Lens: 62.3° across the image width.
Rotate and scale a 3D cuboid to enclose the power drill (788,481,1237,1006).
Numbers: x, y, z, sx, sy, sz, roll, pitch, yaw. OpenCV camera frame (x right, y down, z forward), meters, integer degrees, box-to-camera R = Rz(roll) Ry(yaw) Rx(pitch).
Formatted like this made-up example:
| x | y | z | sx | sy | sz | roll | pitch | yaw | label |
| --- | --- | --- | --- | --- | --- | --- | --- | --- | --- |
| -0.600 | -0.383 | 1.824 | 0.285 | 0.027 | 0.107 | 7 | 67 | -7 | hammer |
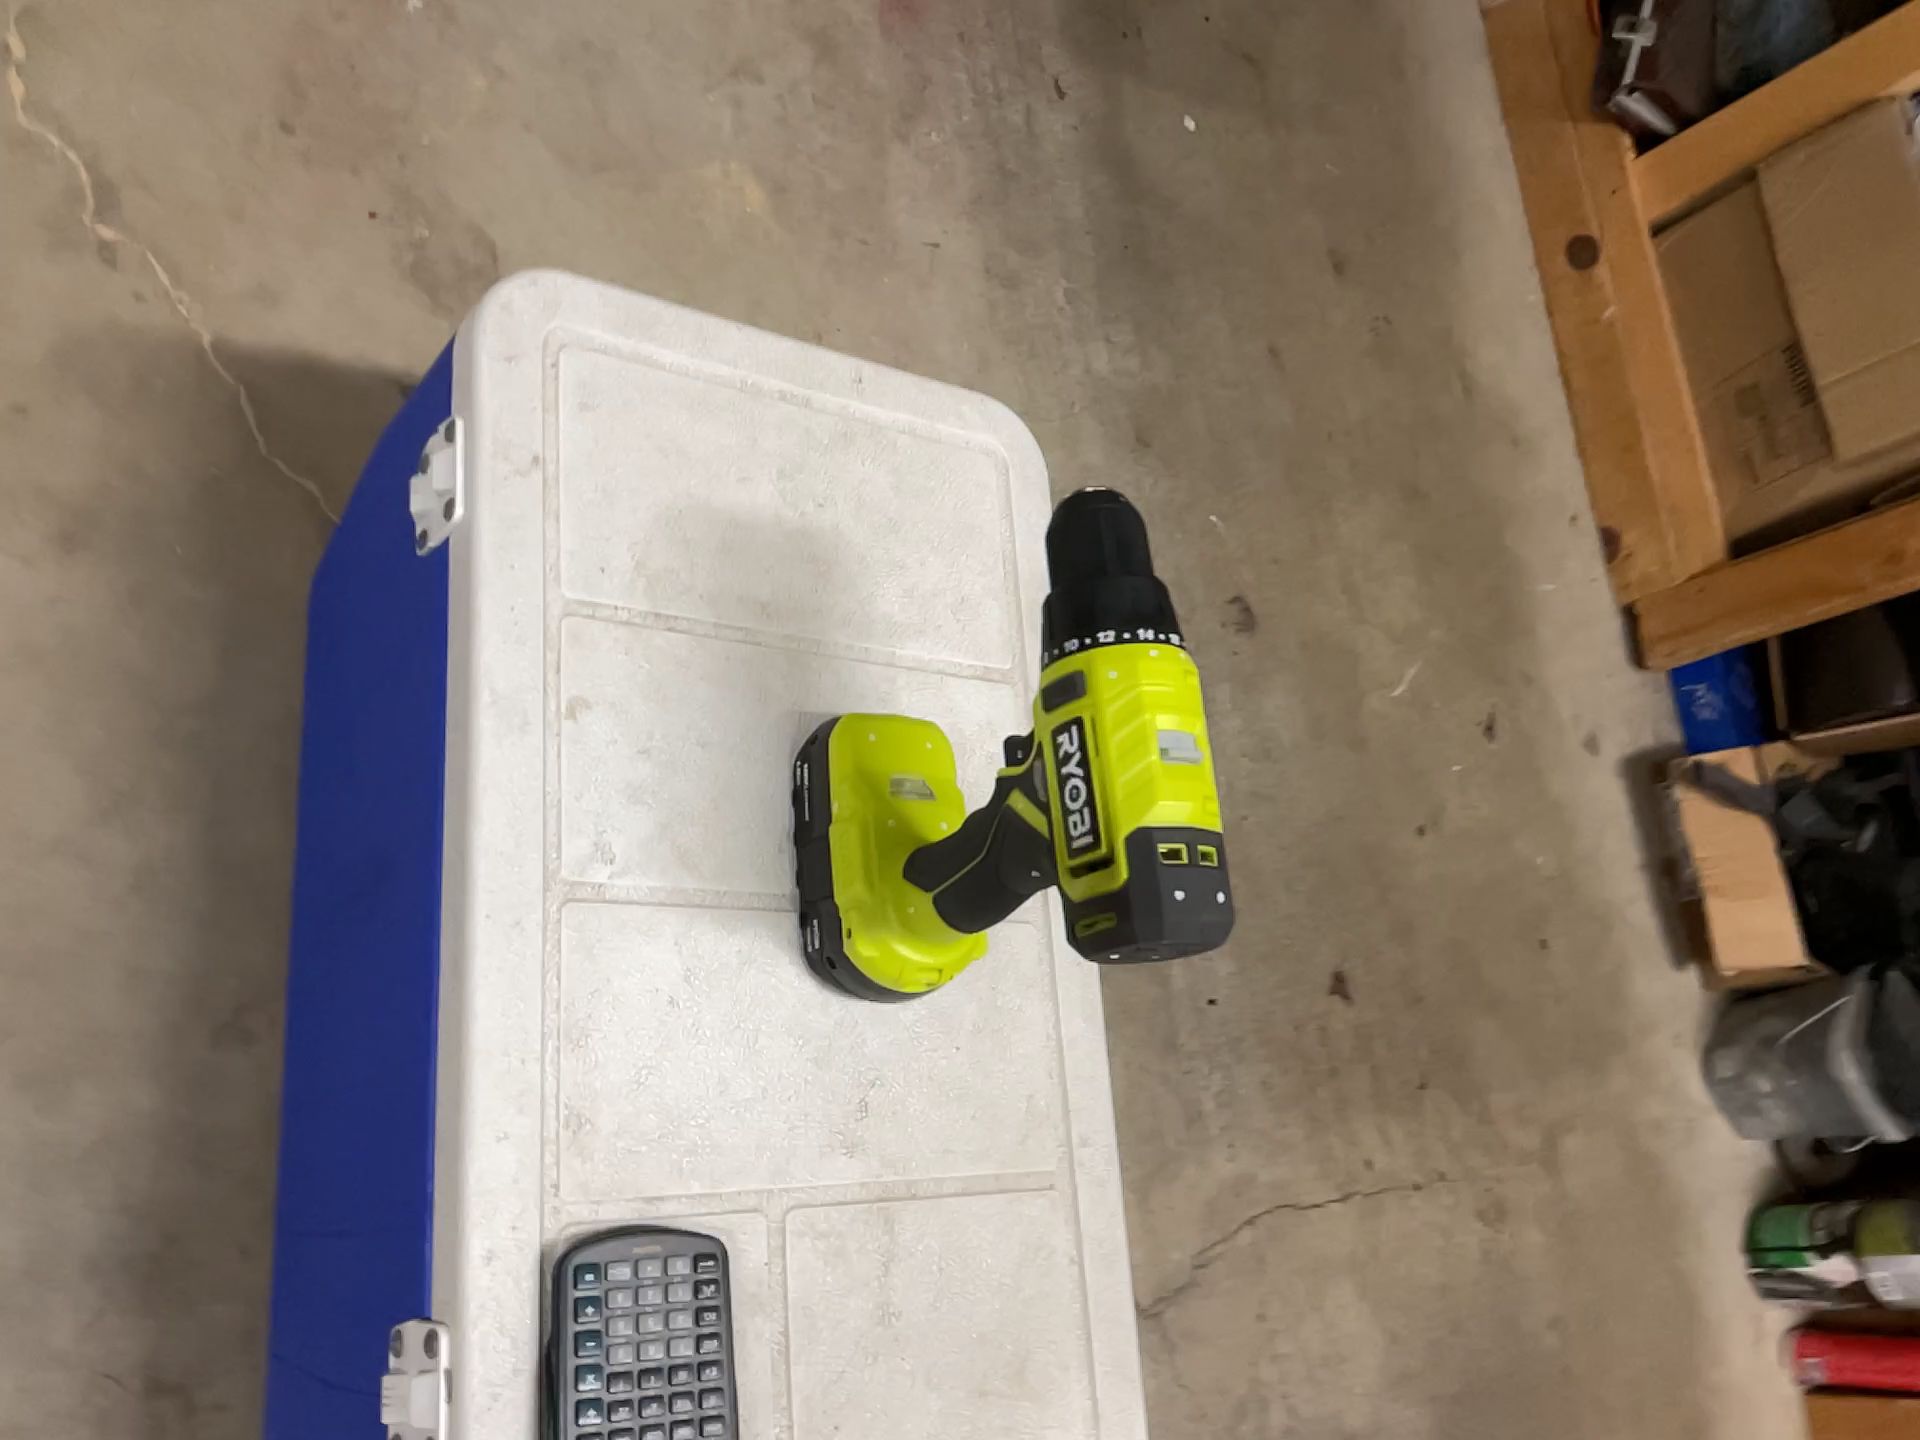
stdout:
| x | y | z | sx | sy | sz | roll | pitch | yaw | label |
| --- | --- | --- | --- | --- | --- | --- | --- | --- | --- |
| 0.017 | 0.022 | 0.683 | 0.080 | 0.228 | 0.191 | 7 | 68 | -36 | power drill |
